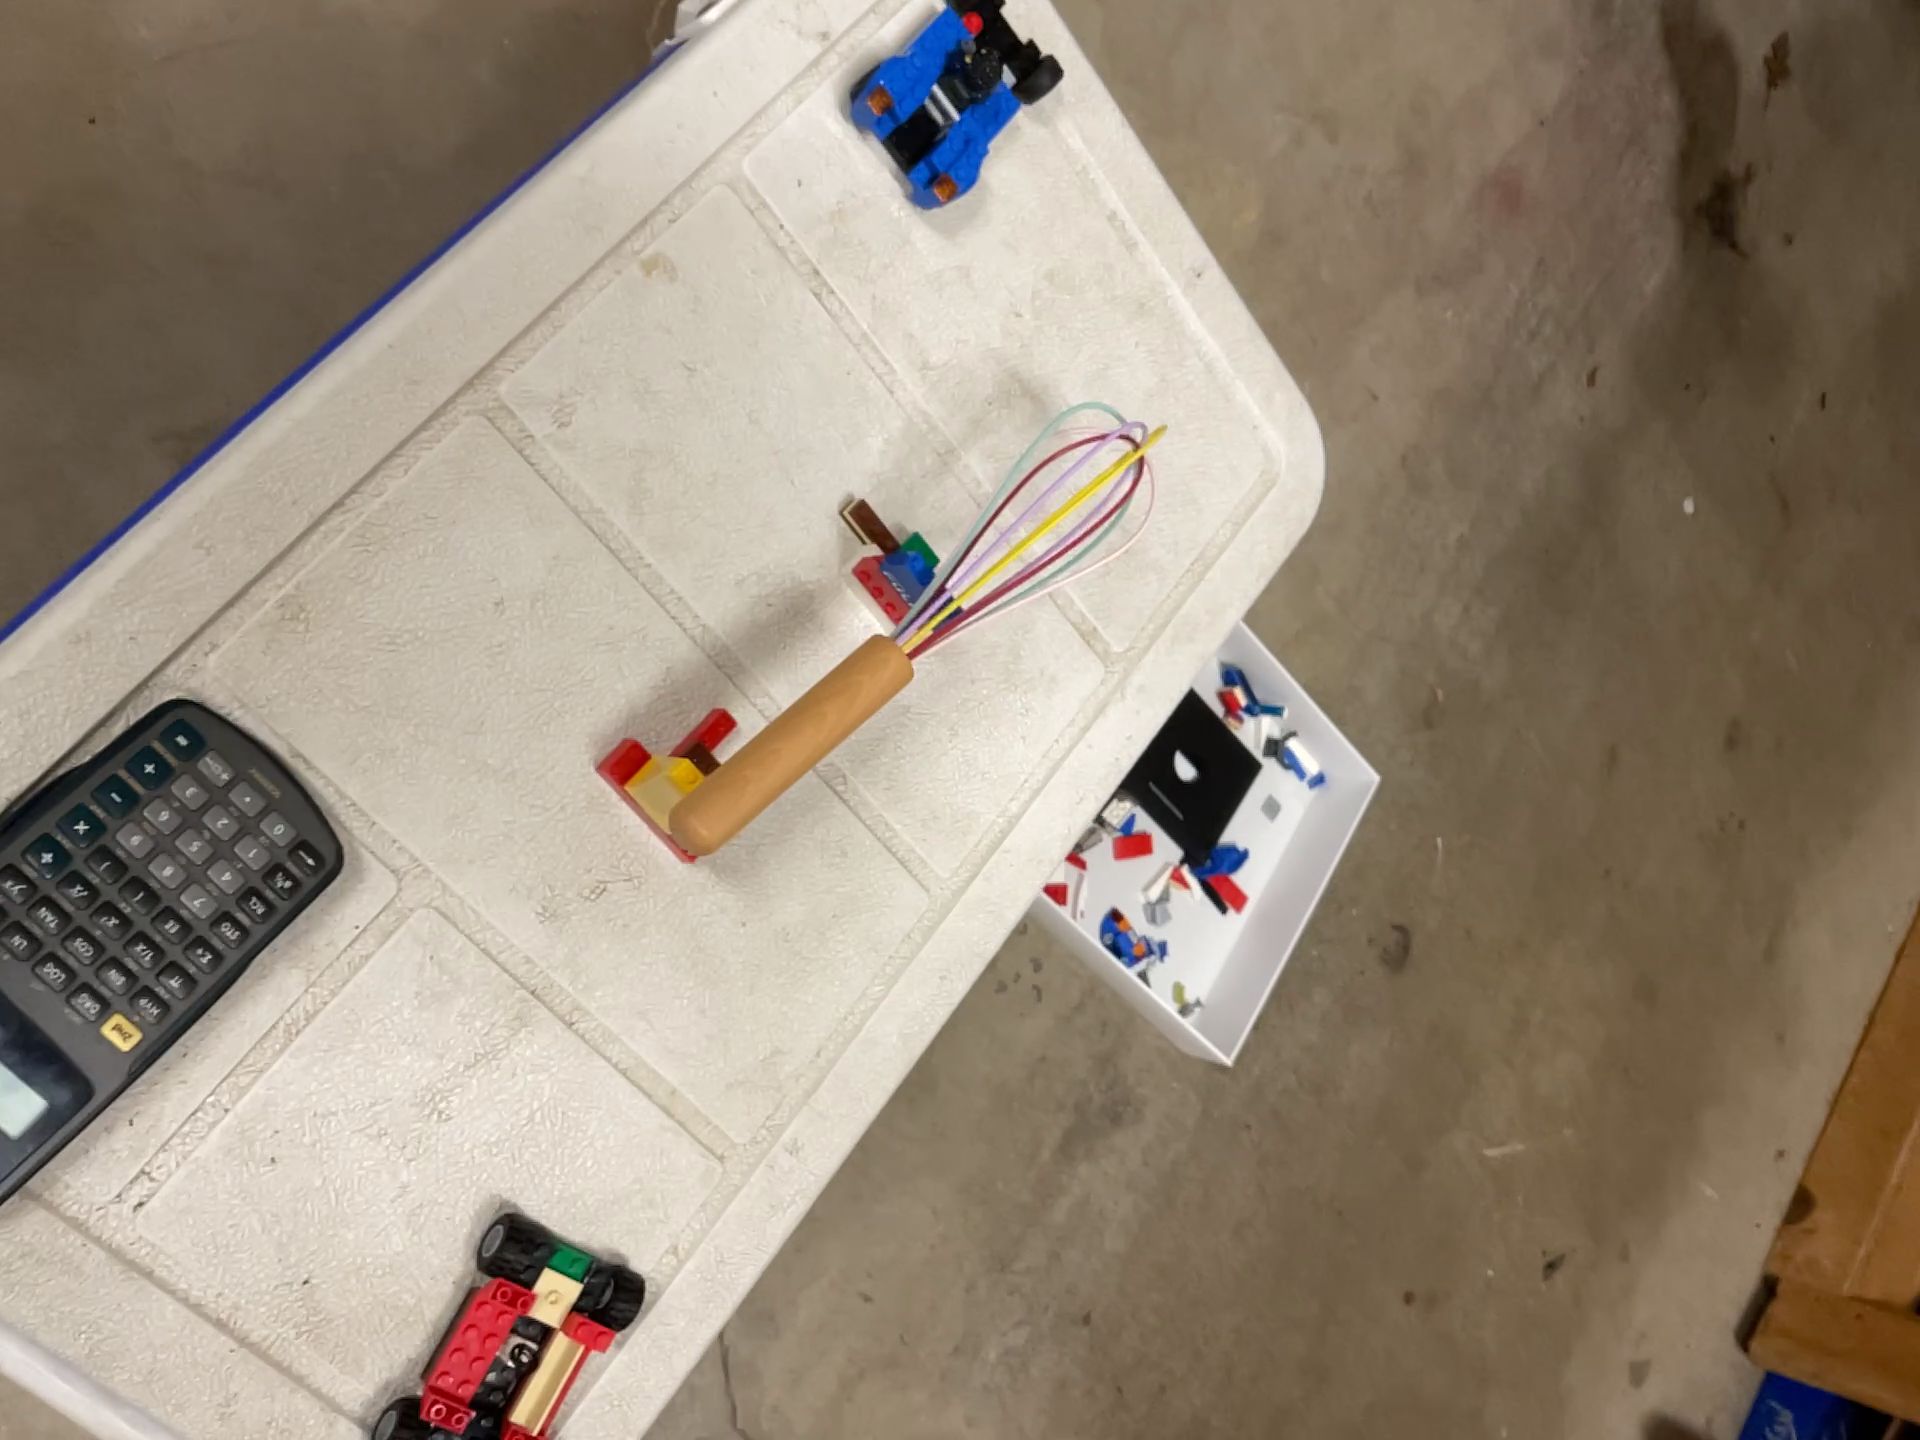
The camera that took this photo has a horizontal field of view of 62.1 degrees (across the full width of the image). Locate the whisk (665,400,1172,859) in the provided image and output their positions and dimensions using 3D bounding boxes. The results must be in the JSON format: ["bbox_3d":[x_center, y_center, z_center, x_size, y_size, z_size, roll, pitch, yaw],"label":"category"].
[{"bbox_3d":[-0.008,-0.038,0.566,0.245,0.047,0.051,-42,126,-22],"label":"whisk"}]
